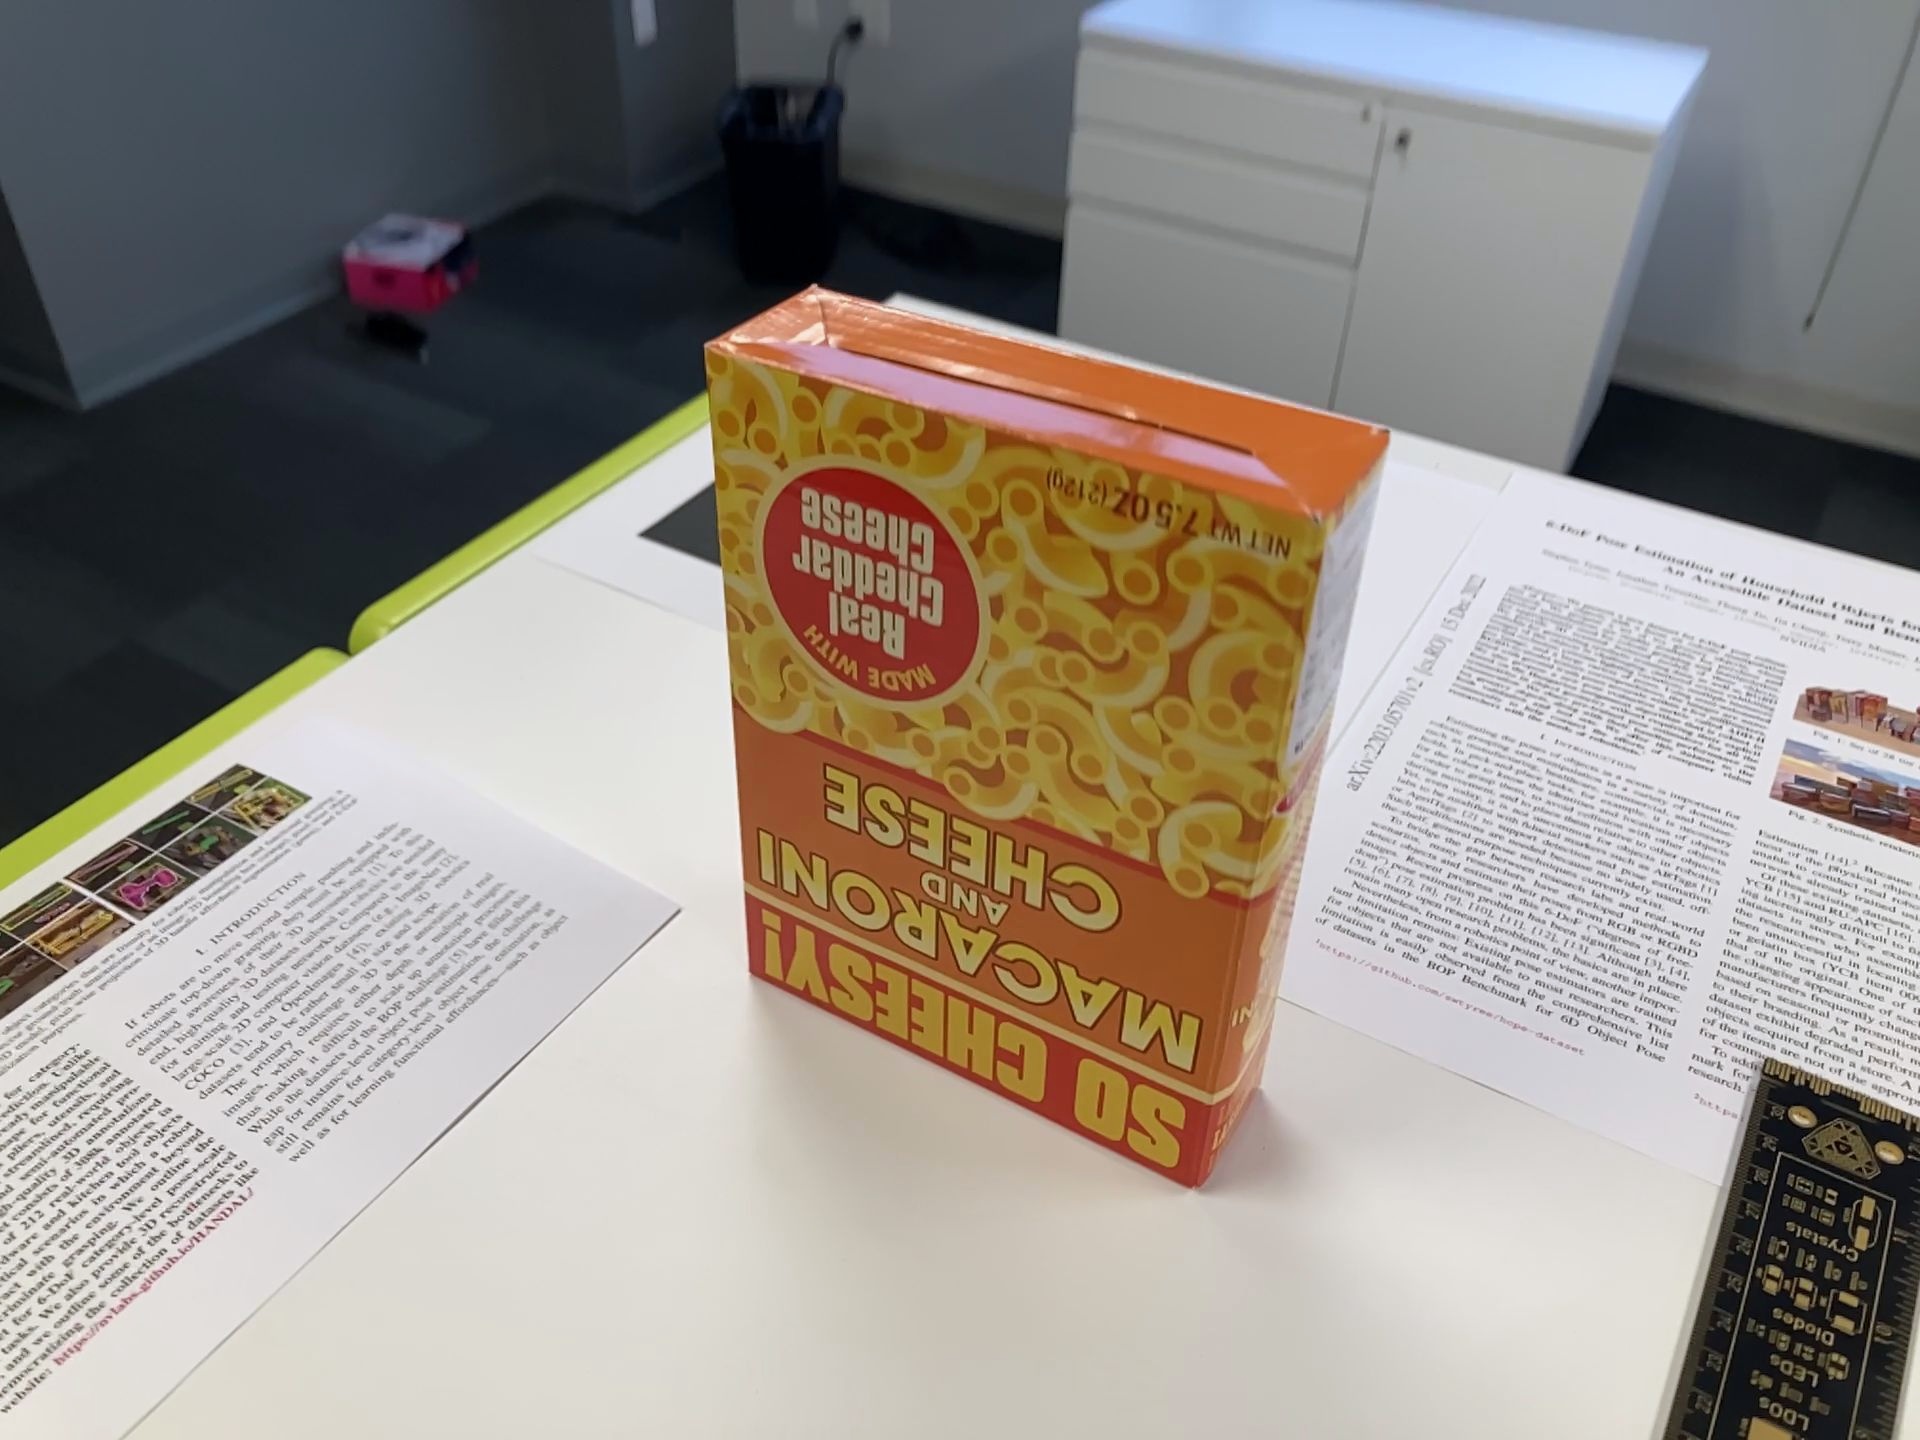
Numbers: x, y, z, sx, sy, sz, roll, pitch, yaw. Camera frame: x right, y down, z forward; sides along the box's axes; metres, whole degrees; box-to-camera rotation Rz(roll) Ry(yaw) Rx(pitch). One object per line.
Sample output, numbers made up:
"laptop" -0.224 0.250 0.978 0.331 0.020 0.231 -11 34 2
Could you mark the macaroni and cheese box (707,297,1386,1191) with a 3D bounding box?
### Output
"macaroni and cheese box" 0.012 0.008 0.336 0.124 0.166 0.040 21 40 24
